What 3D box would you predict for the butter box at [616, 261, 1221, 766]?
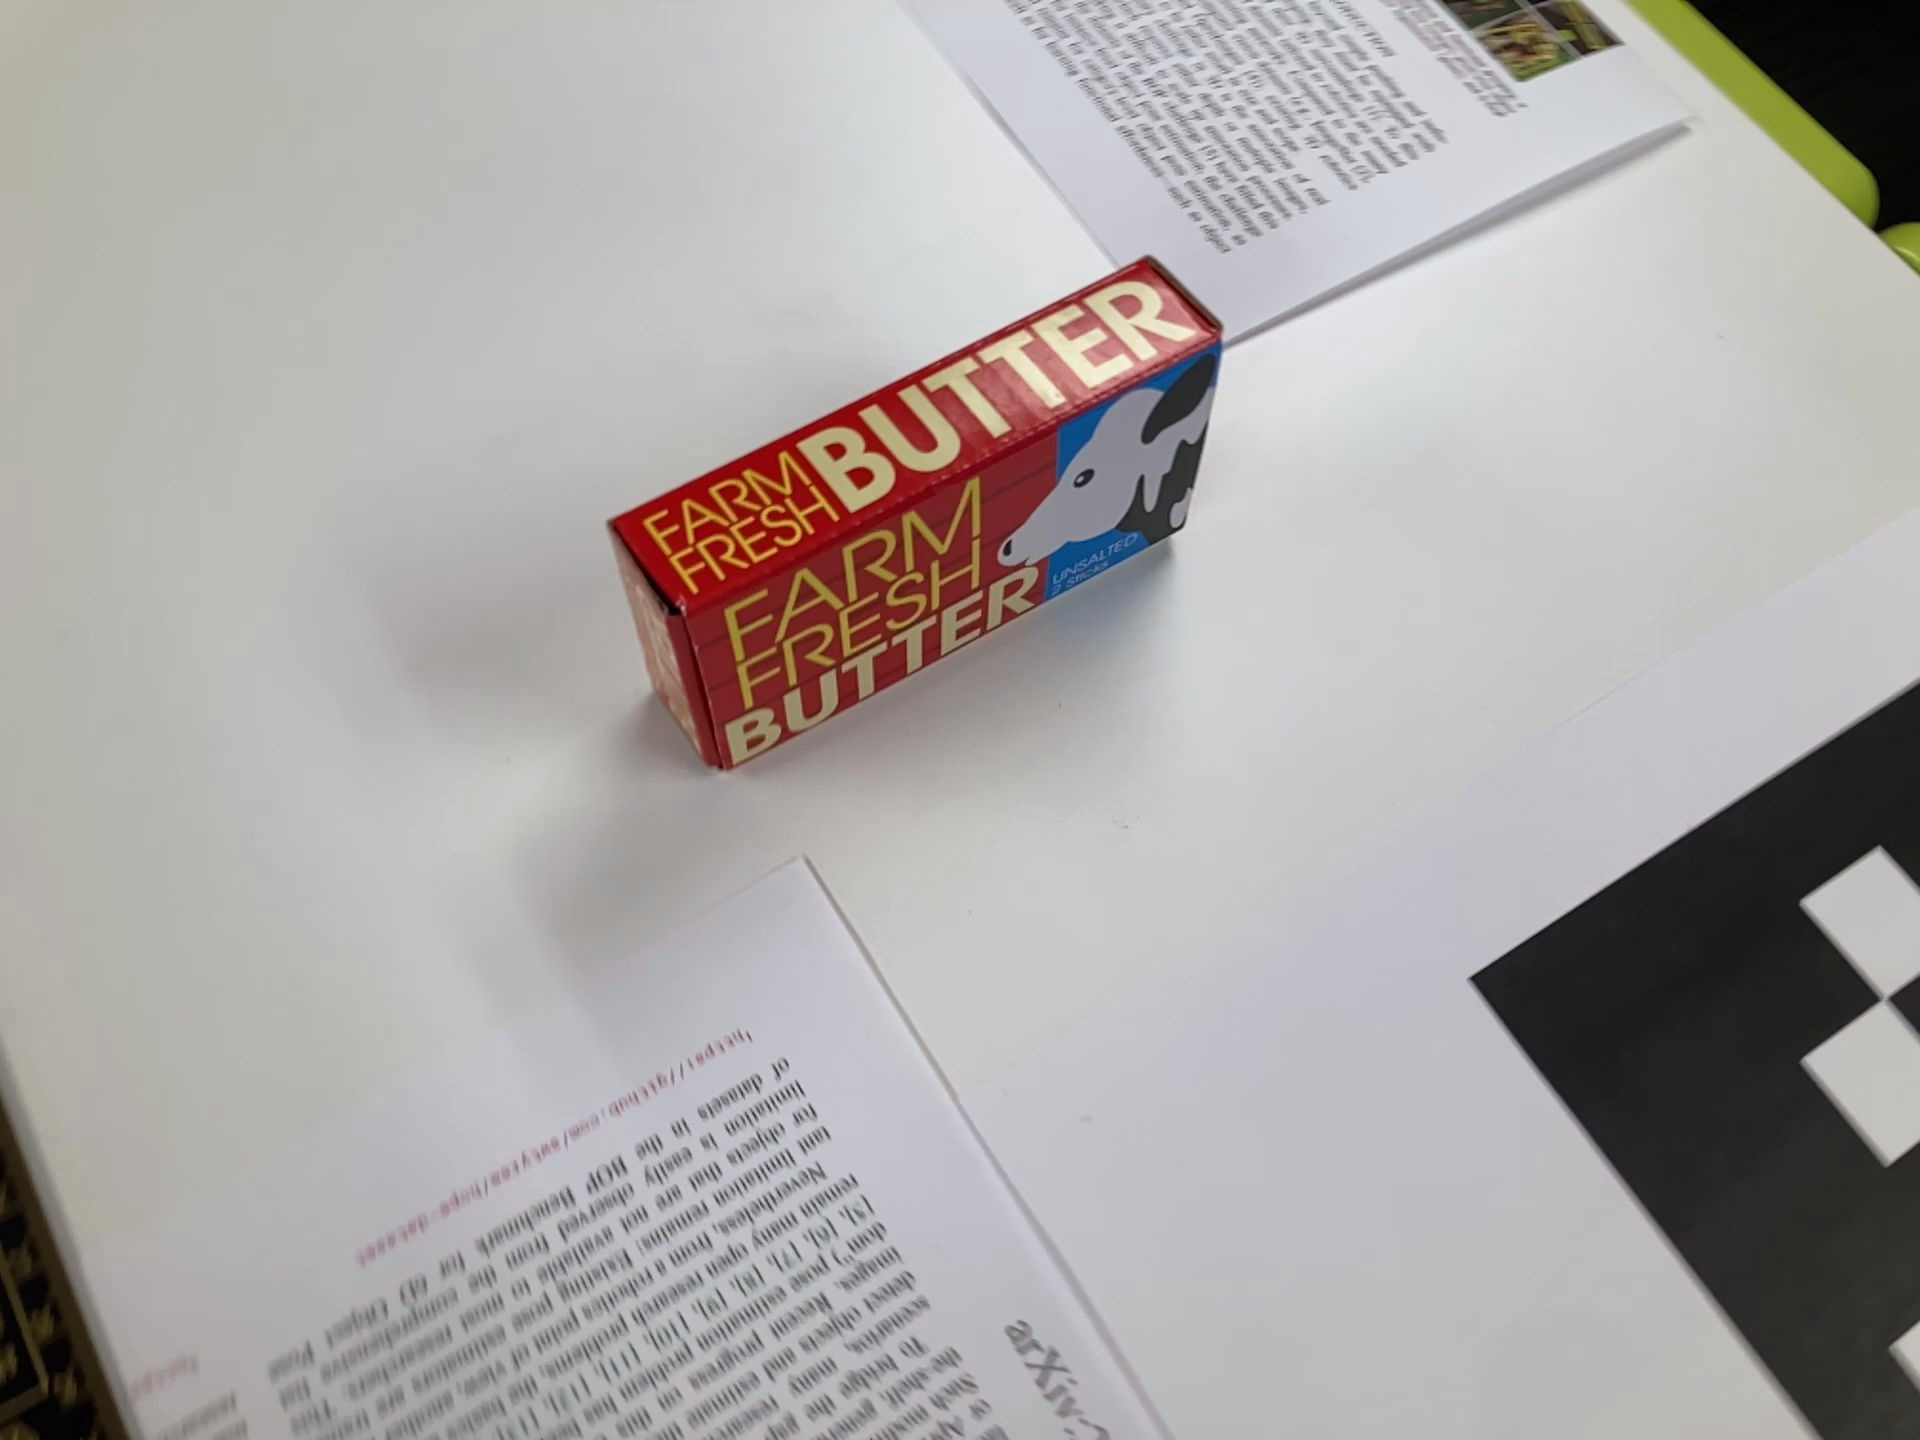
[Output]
[{"bbox_3d":[-0.005,-0.035,0.274,0.103,0.053,0.024,-29,64,-16],"label":"butter box"}]
